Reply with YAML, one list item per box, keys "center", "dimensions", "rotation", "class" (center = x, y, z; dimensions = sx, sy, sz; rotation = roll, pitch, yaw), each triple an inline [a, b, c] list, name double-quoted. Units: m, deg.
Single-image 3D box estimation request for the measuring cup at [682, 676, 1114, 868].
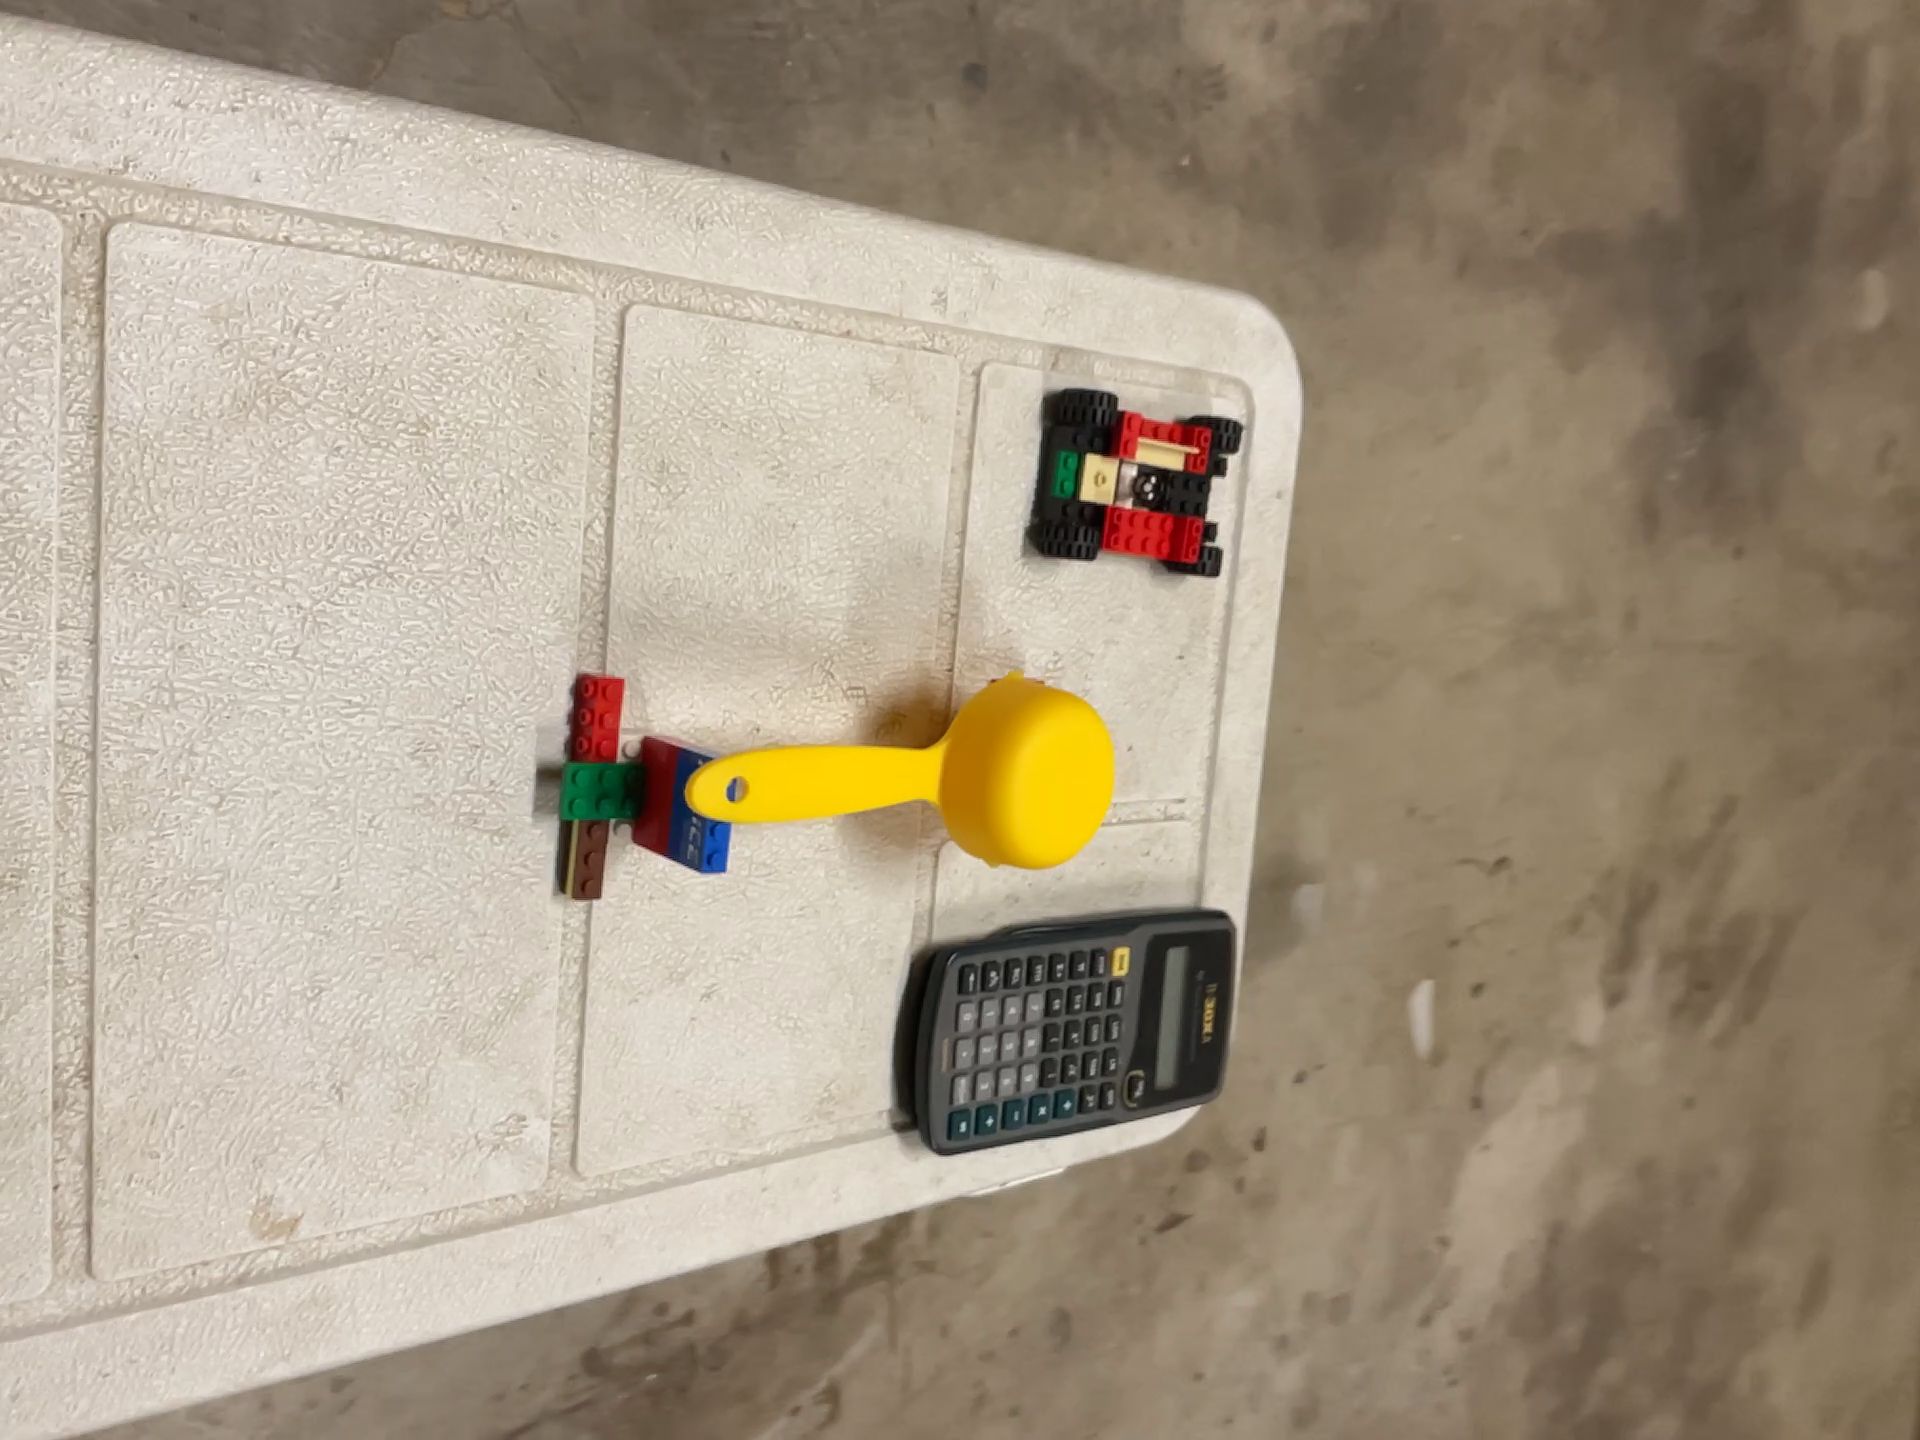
- center: [-0.011, 0.019, 0.472]
  dimensions: [0.156, 0.029, 0.062]
  rotation: [-1, 100, -45]
  class: "measuring cup"
